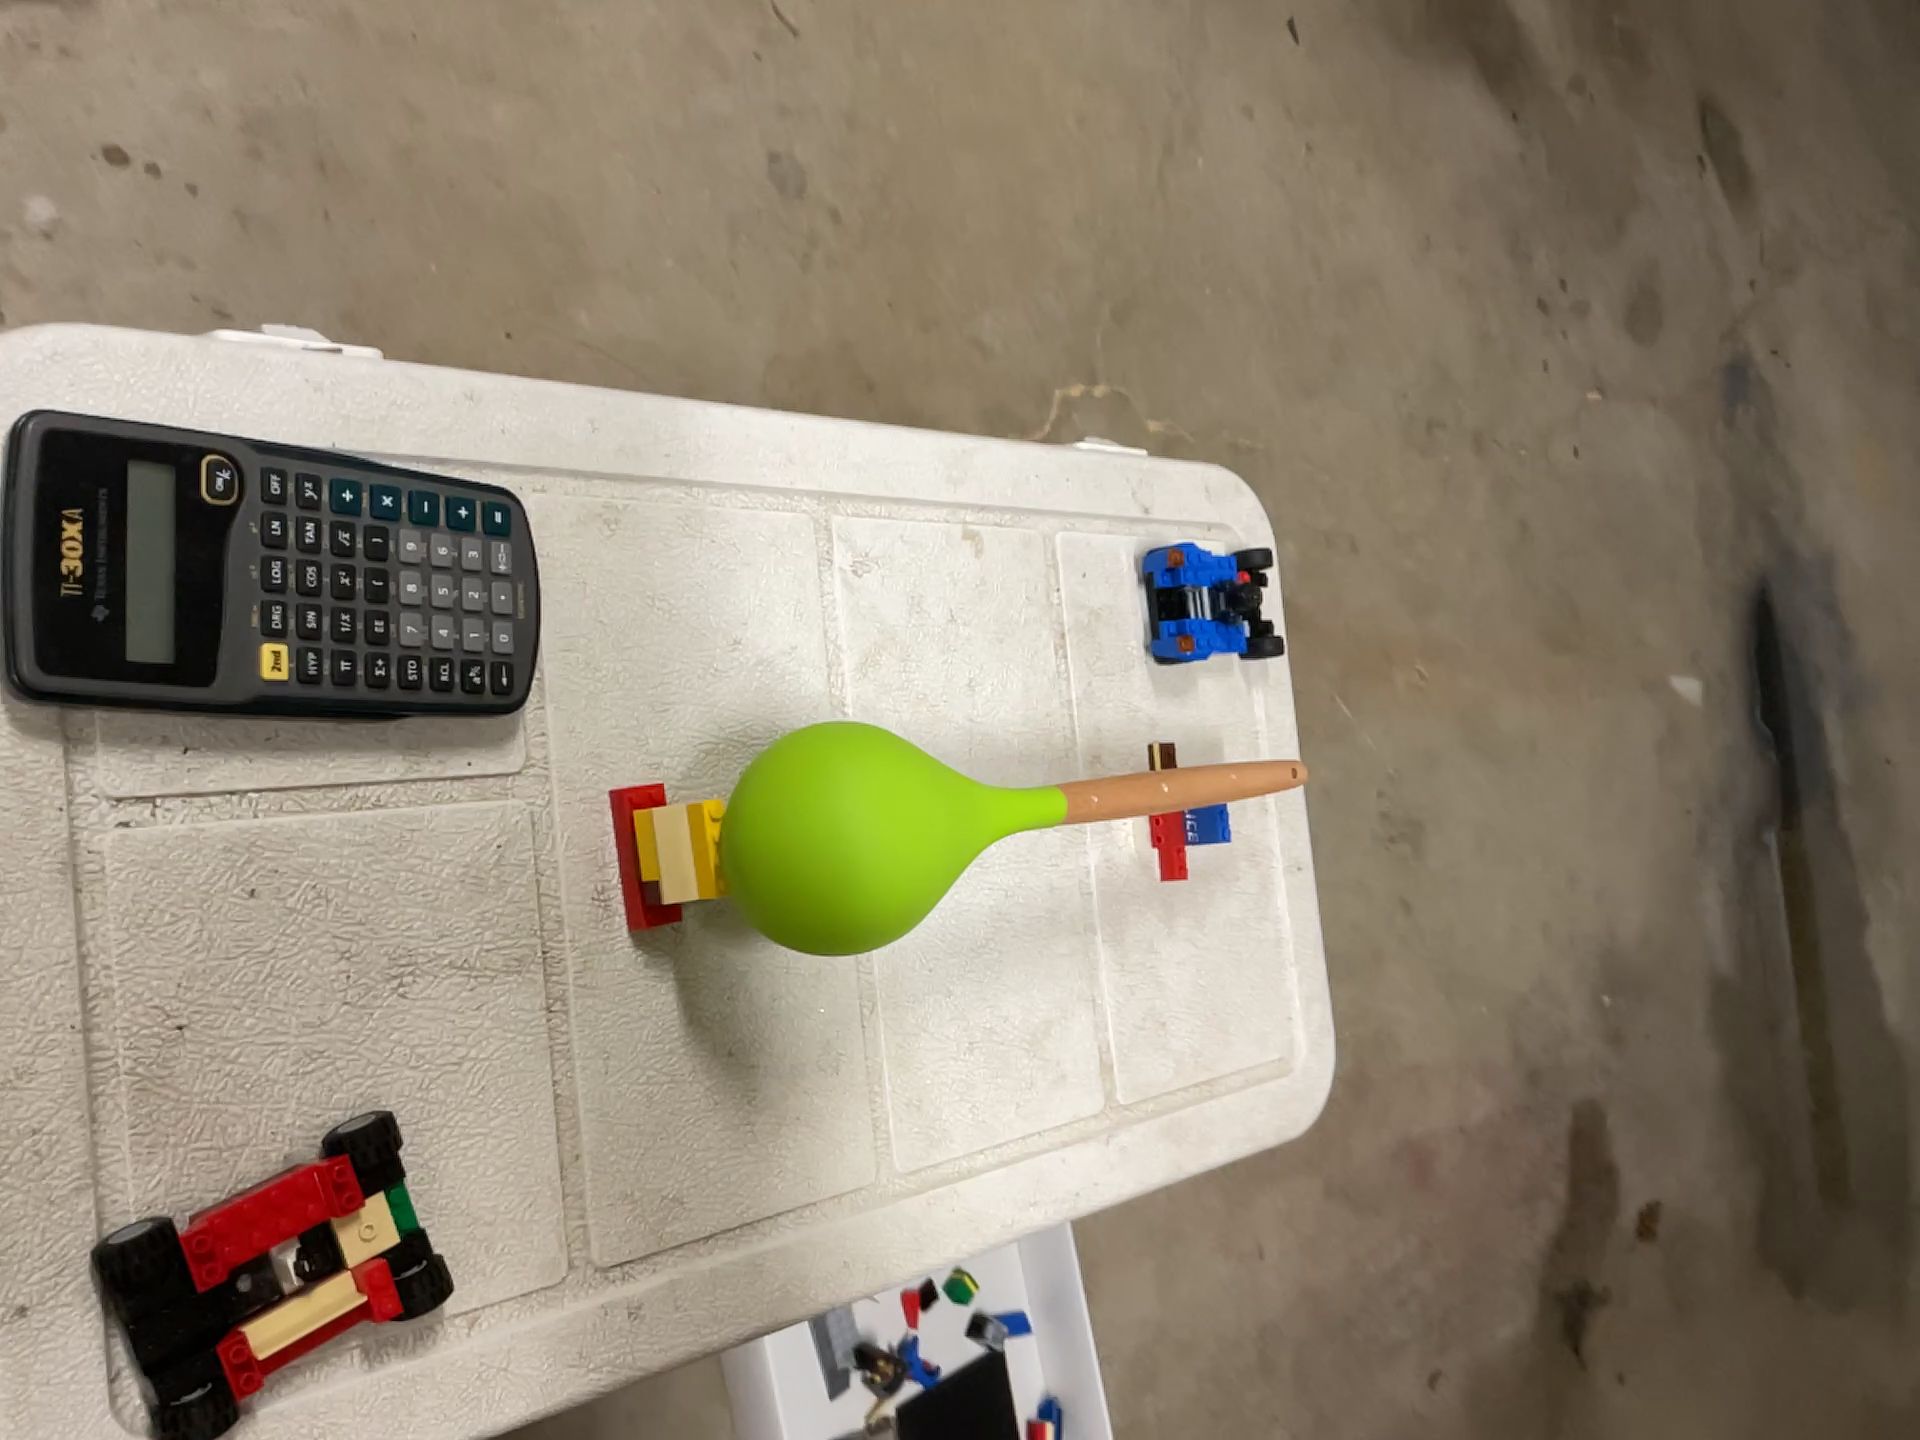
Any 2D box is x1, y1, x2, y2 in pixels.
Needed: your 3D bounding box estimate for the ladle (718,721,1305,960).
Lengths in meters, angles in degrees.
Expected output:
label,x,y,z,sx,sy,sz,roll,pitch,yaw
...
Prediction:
label,x,y,z,sx,sy,sz,roll,pitch,yaw
ladle,0.041,0.034,0.616,0.320,0.062,0.078,-3,80,-50
